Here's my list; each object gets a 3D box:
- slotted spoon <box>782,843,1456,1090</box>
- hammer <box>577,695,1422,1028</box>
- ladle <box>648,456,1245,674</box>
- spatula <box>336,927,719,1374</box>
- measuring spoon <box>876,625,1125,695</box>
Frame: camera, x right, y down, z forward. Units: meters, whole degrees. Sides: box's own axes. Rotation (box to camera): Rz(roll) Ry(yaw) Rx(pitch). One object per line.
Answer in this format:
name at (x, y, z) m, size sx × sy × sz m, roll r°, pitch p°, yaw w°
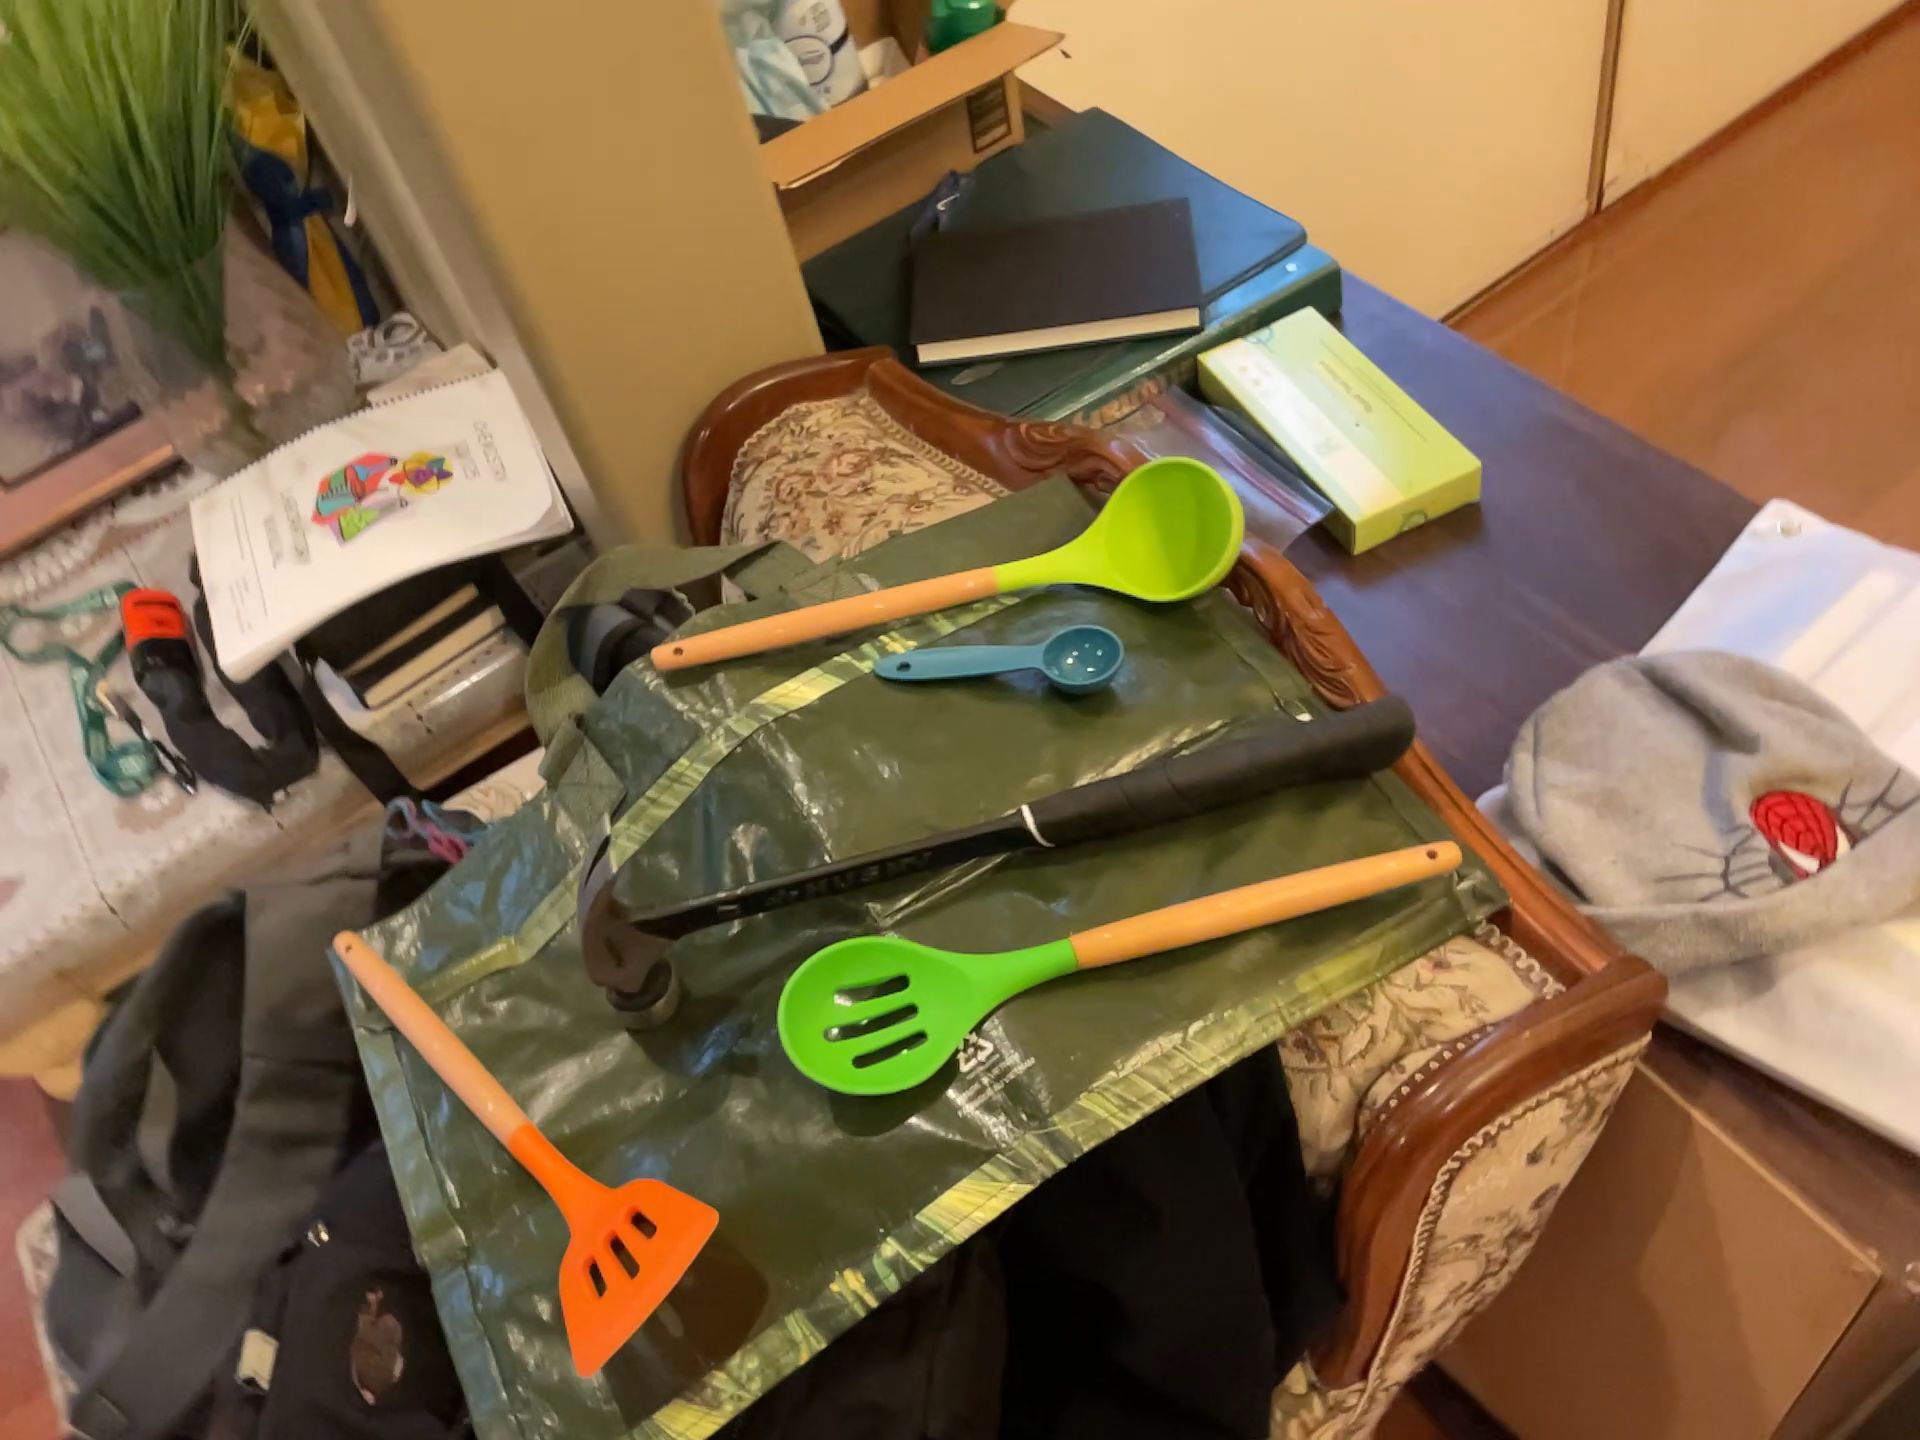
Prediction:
slotted spoon at (0.076, 0.100, 0.706) m, size 0.313 × 0.031 × 0.070 m, roll -14°, pitch 62°, yaw -9°
hammer at (0.021, 0.051, 0.744) m, size 0.409 × 0.149 × 0.036 m, roll -14°, pitch 56°, yaw -6°
ladle at (-0.007, -0.071, 0.830) m, size 0.320 × 0.062 × 0.078 m, roll -14°, pitch 73°, yaw -5°
spatula at (-0.223, 0.177, 0.746) m, size 0.323 × 0.041 × 0.081 m, roll 31°, pitch 72°, yaw 38°
measuring spoon at (0.021, -0.025, 0.810) m, size 0.129 × 0.021 × 0.042 m, roll -2°, pitch 48°, yaw 12°
